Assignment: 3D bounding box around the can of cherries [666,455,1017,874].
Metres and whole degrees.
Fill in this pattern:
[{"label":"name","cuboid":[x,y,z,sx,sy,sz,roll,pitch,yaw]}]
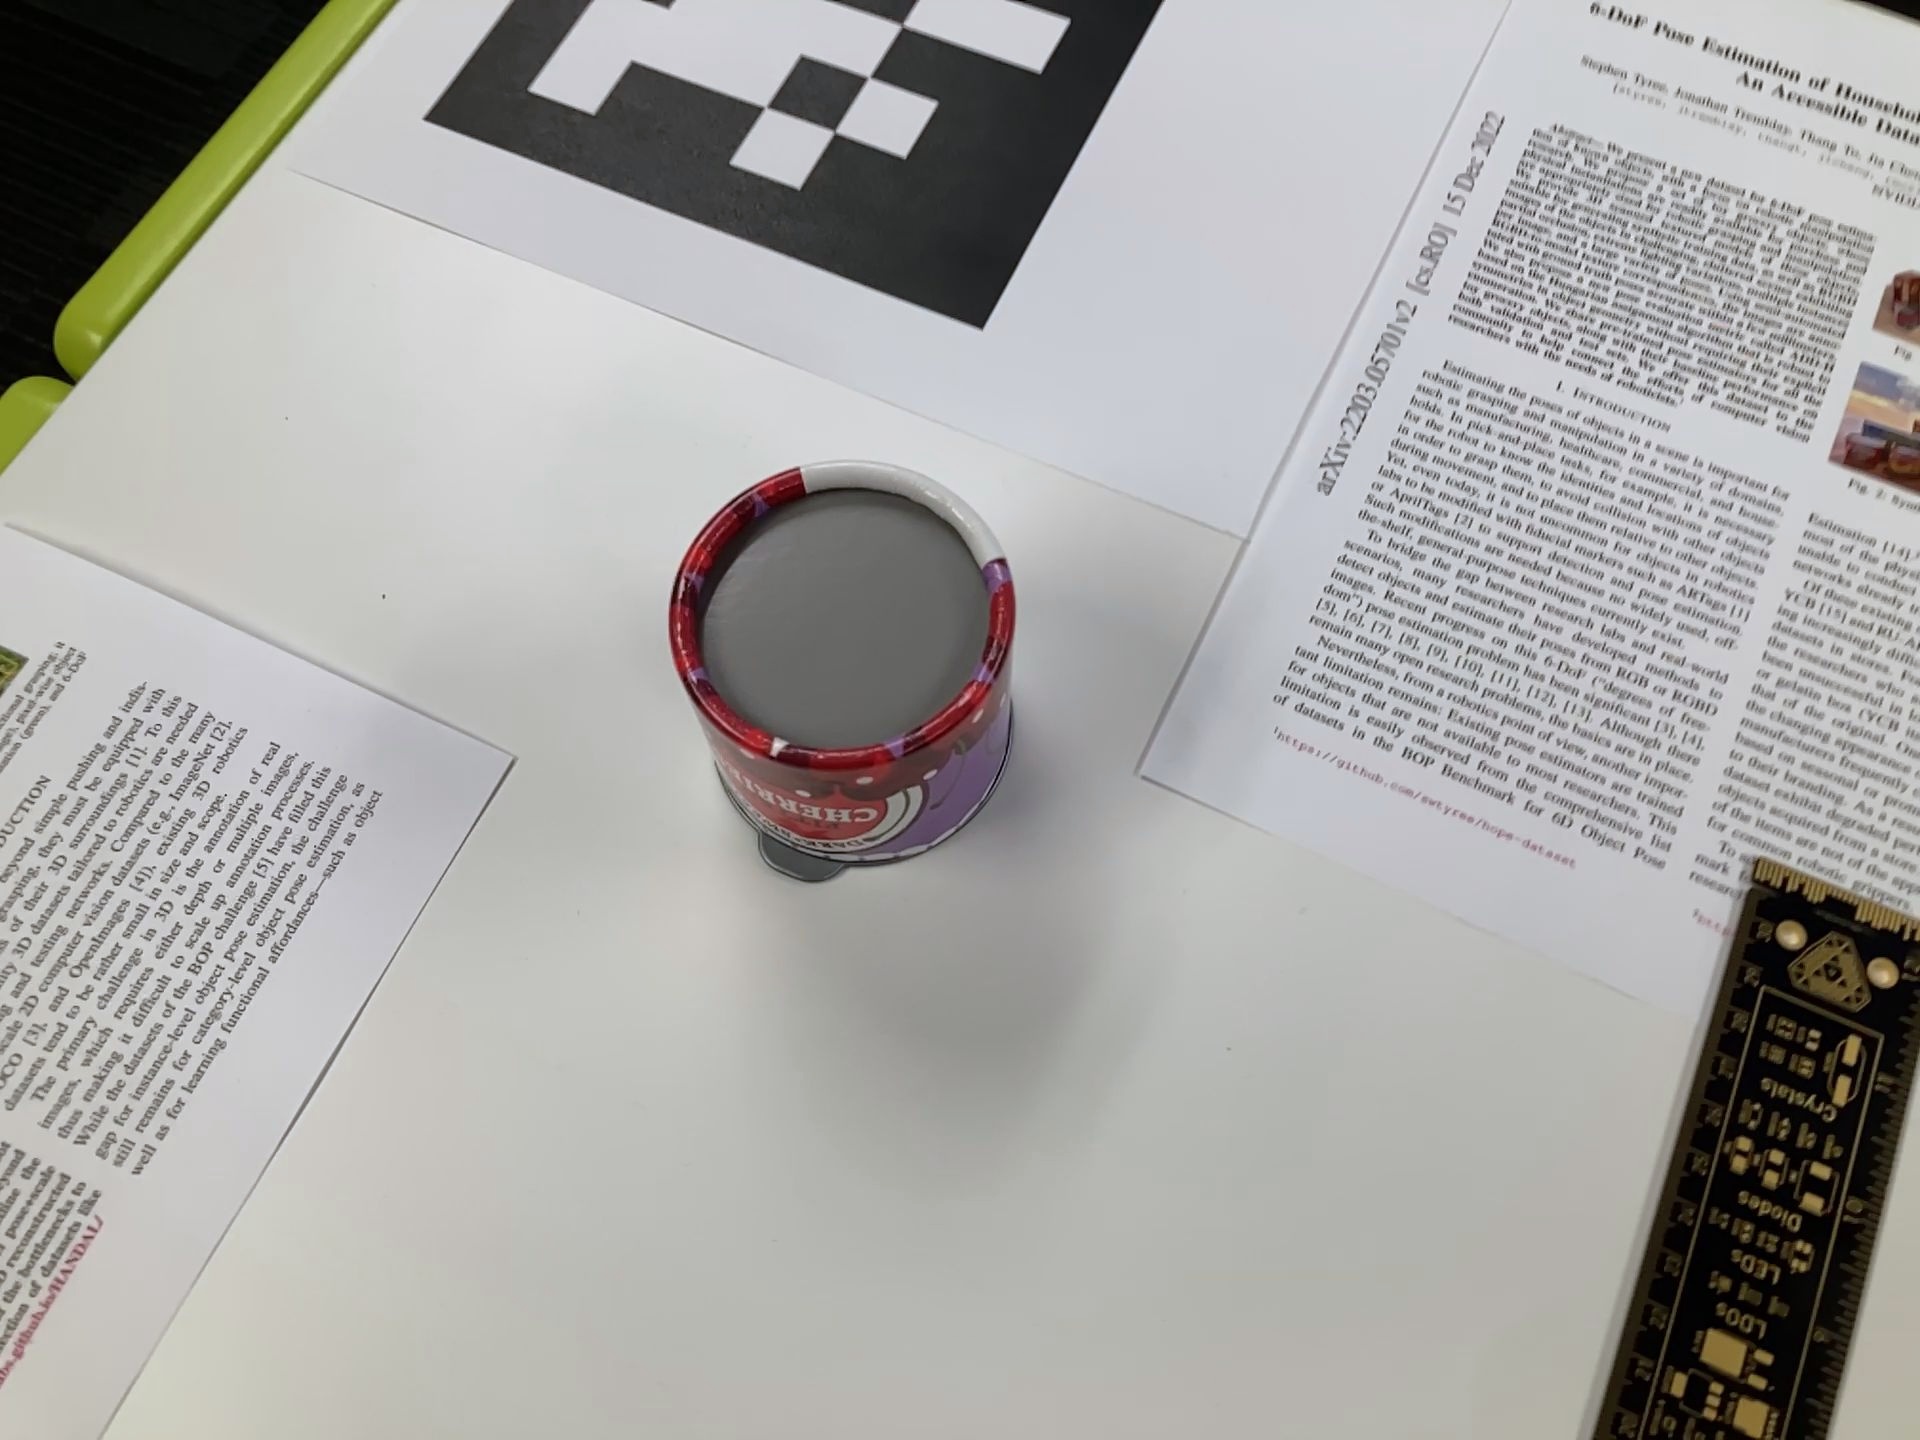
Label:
[{"label":"can of cherries","cuboid":[-0.023,-0.008,0.317,0.071,0.058,0.071,0,68,0]}]
